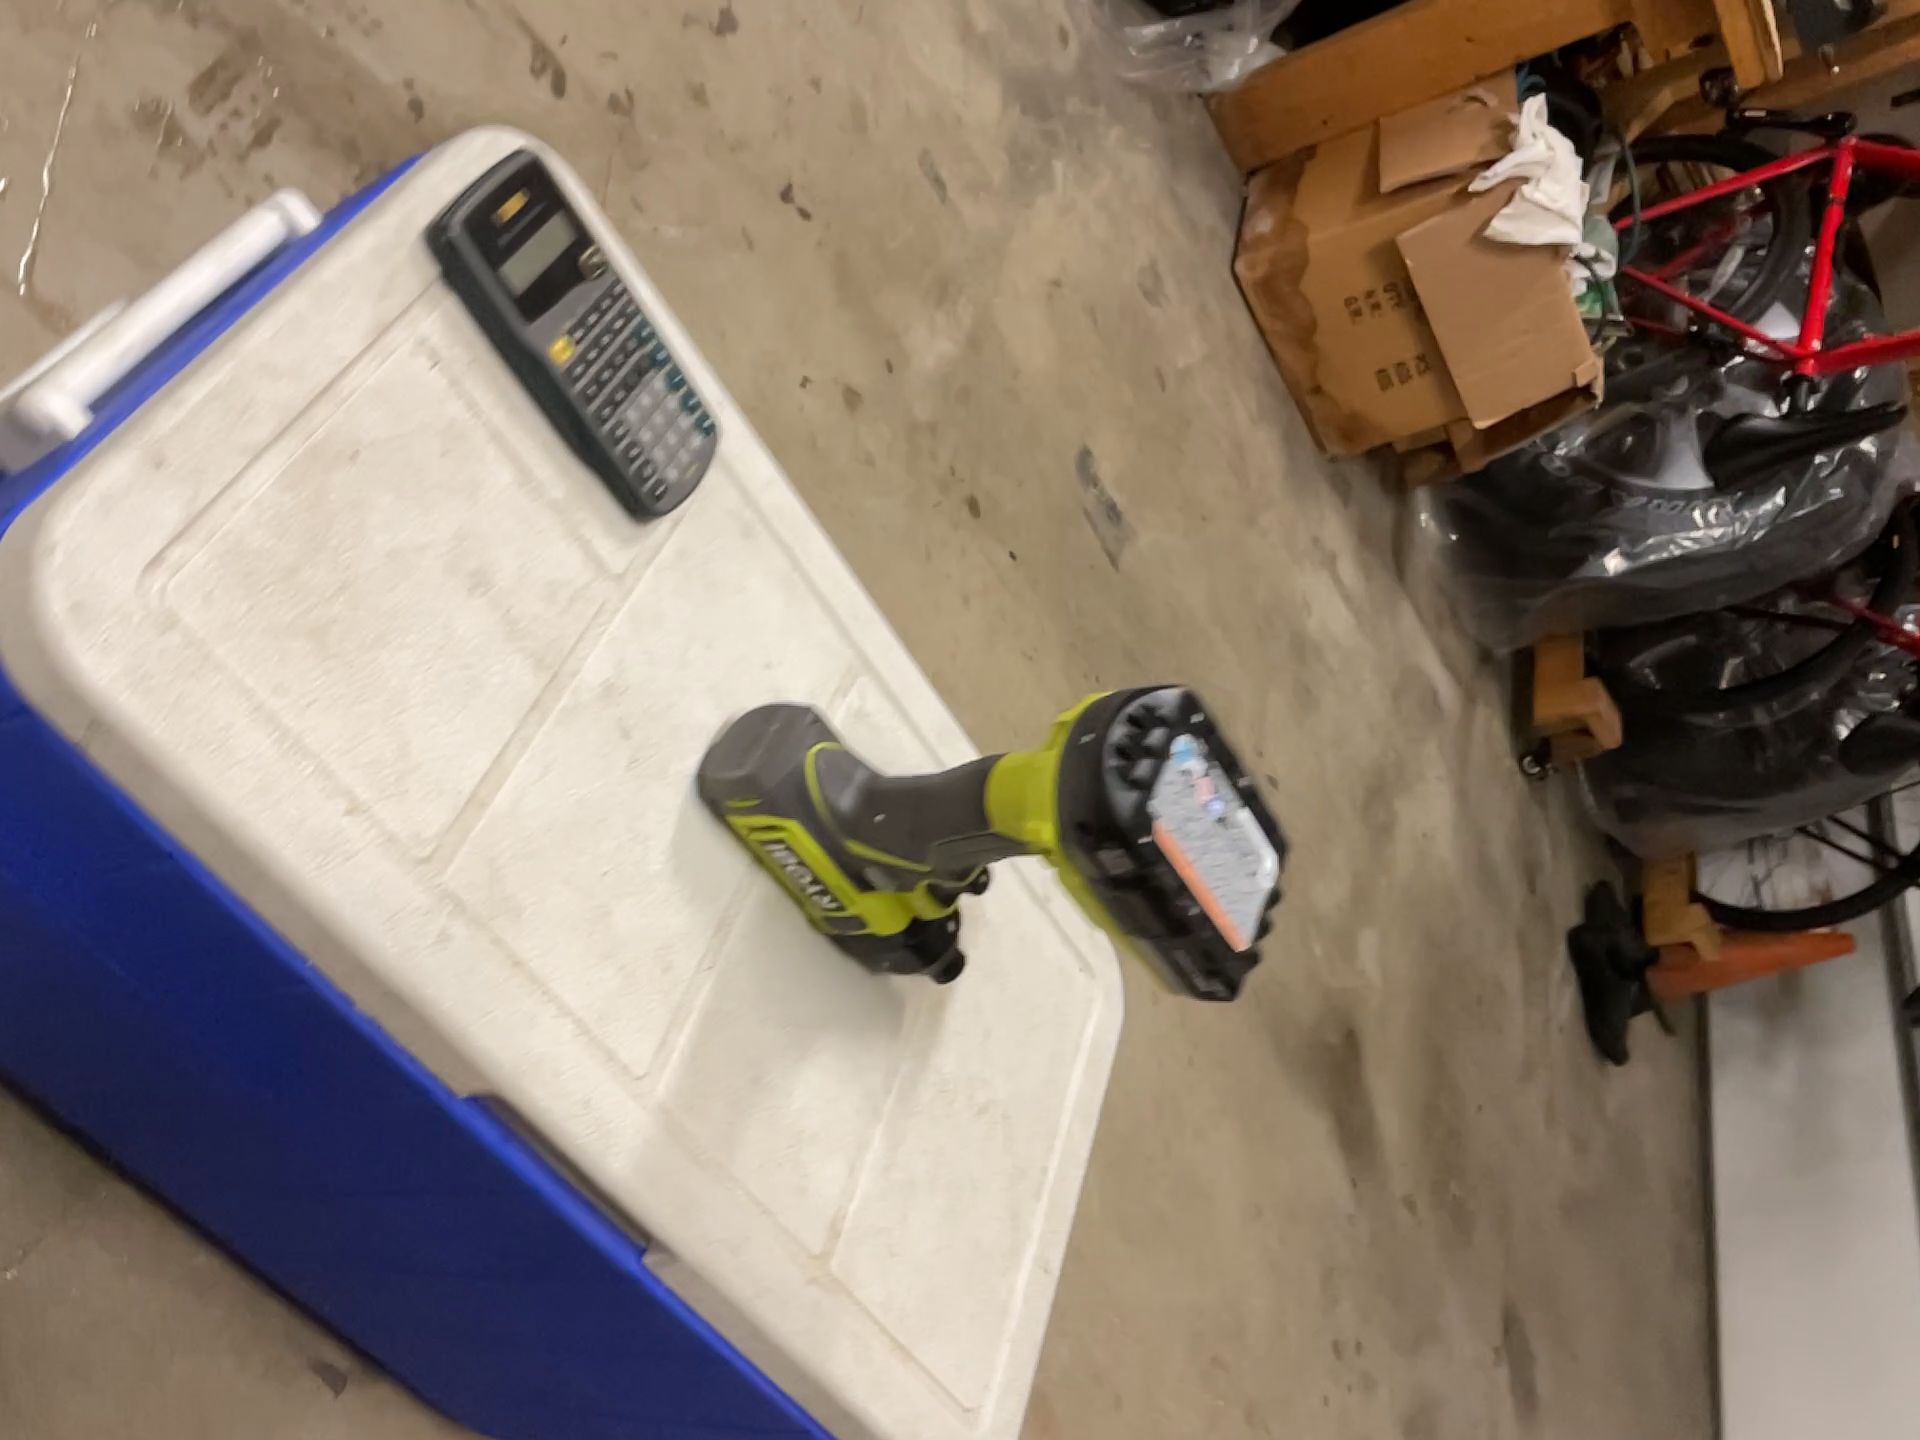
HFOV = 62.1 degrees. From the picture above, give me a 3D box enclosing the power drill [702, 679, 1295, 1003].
[{"bbox_3d":[0.017,0.058,0.677,0.171,0.223,0.080,53,49,-32],"label":"power drill"}]
